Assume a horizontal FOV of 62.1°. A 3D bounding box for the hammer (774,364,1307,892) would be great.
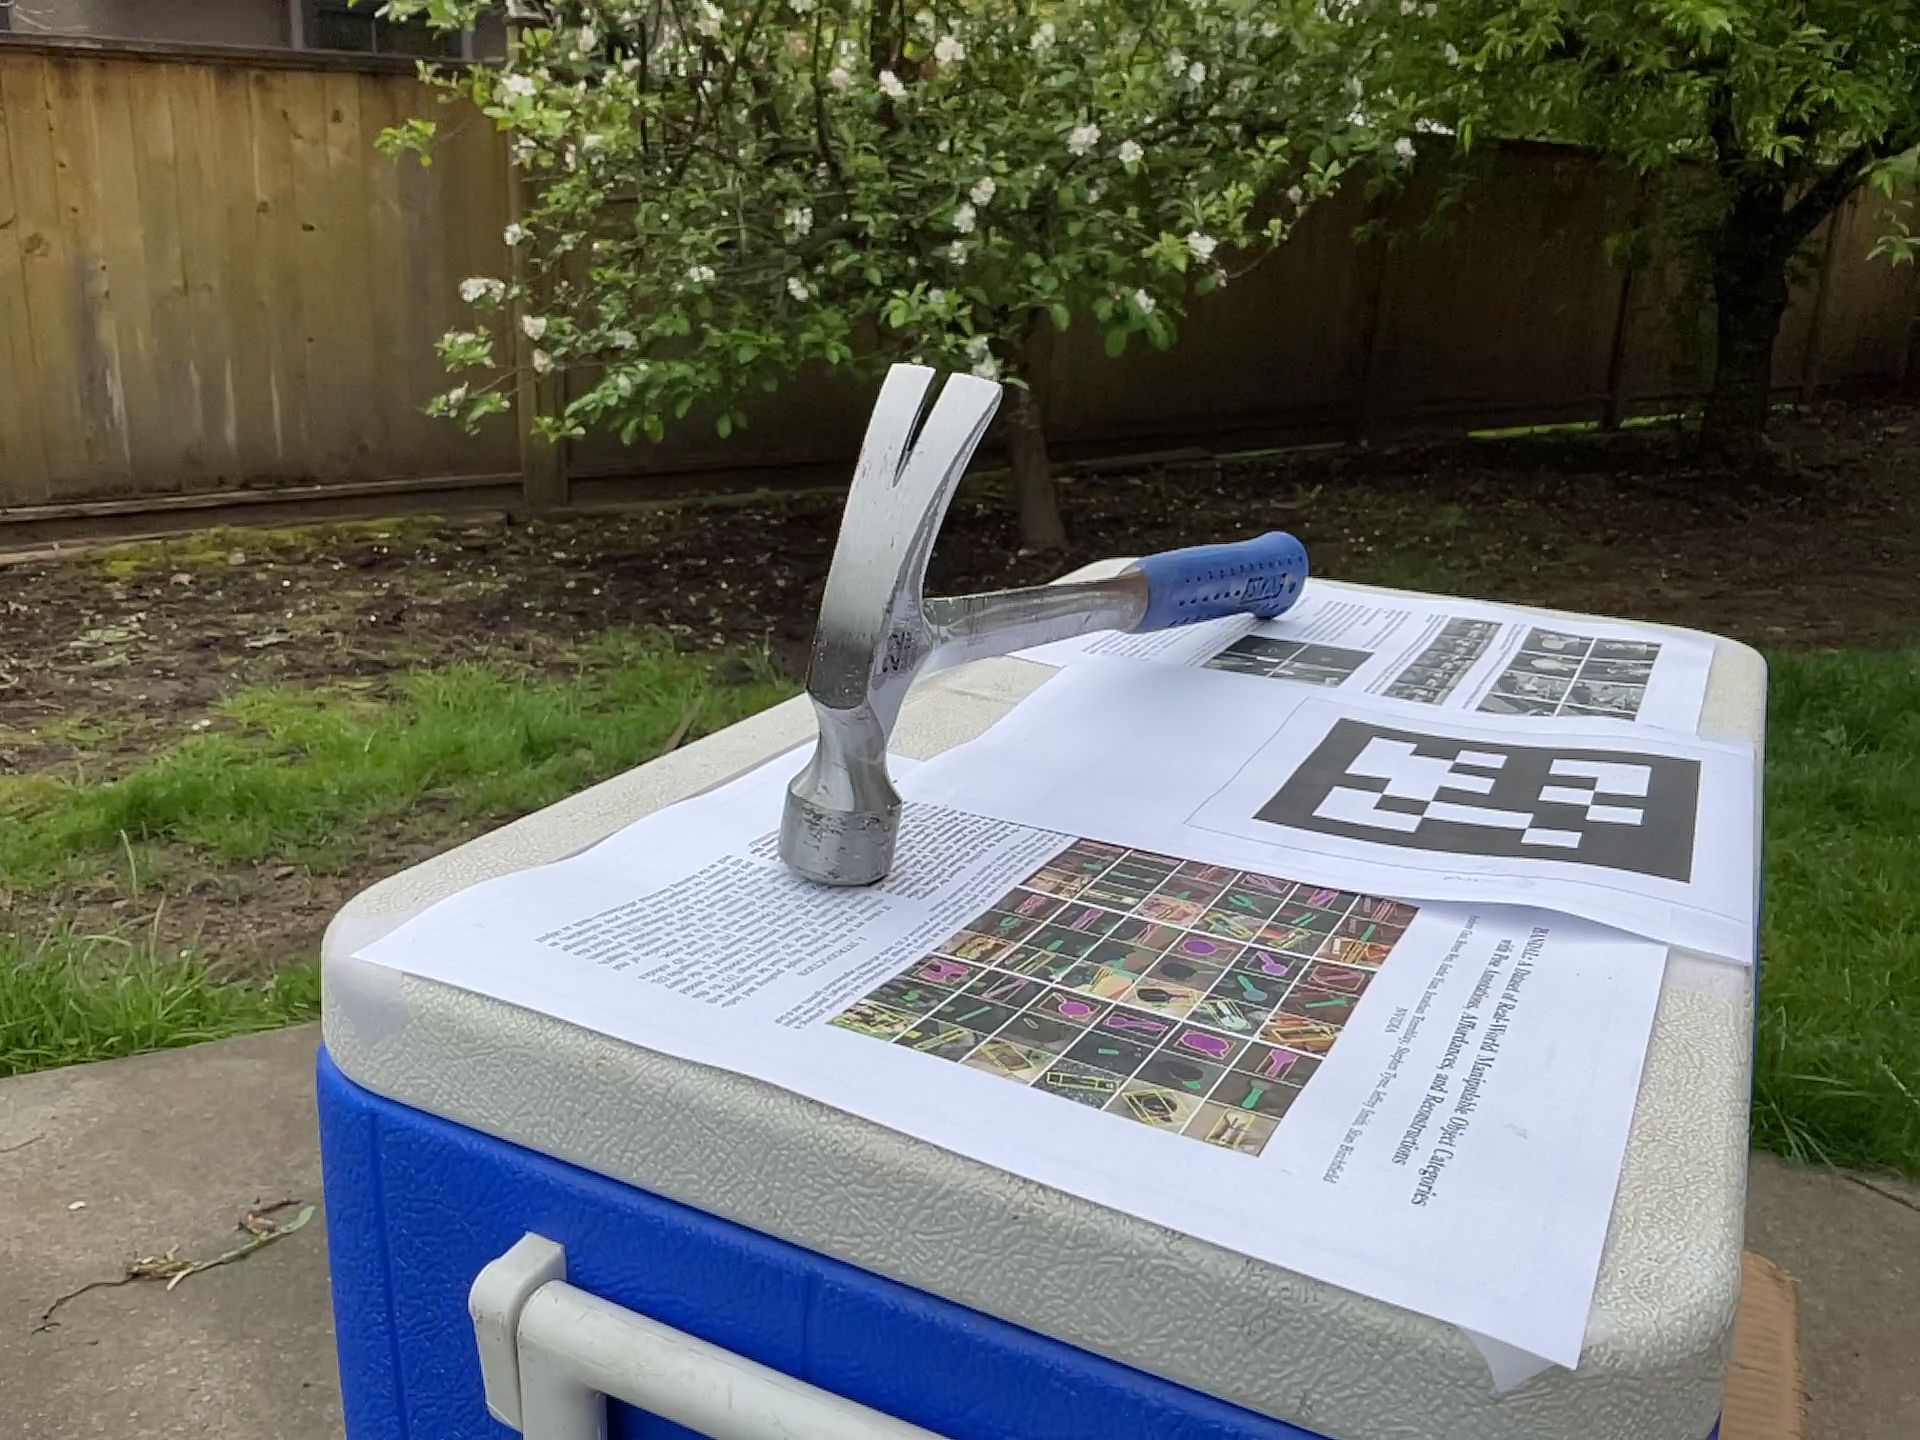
[{"bbox_3d":[0.061,-0.049,0.601,0.035,0.144,0.405,18,15,24],"label":"hammer"}]
